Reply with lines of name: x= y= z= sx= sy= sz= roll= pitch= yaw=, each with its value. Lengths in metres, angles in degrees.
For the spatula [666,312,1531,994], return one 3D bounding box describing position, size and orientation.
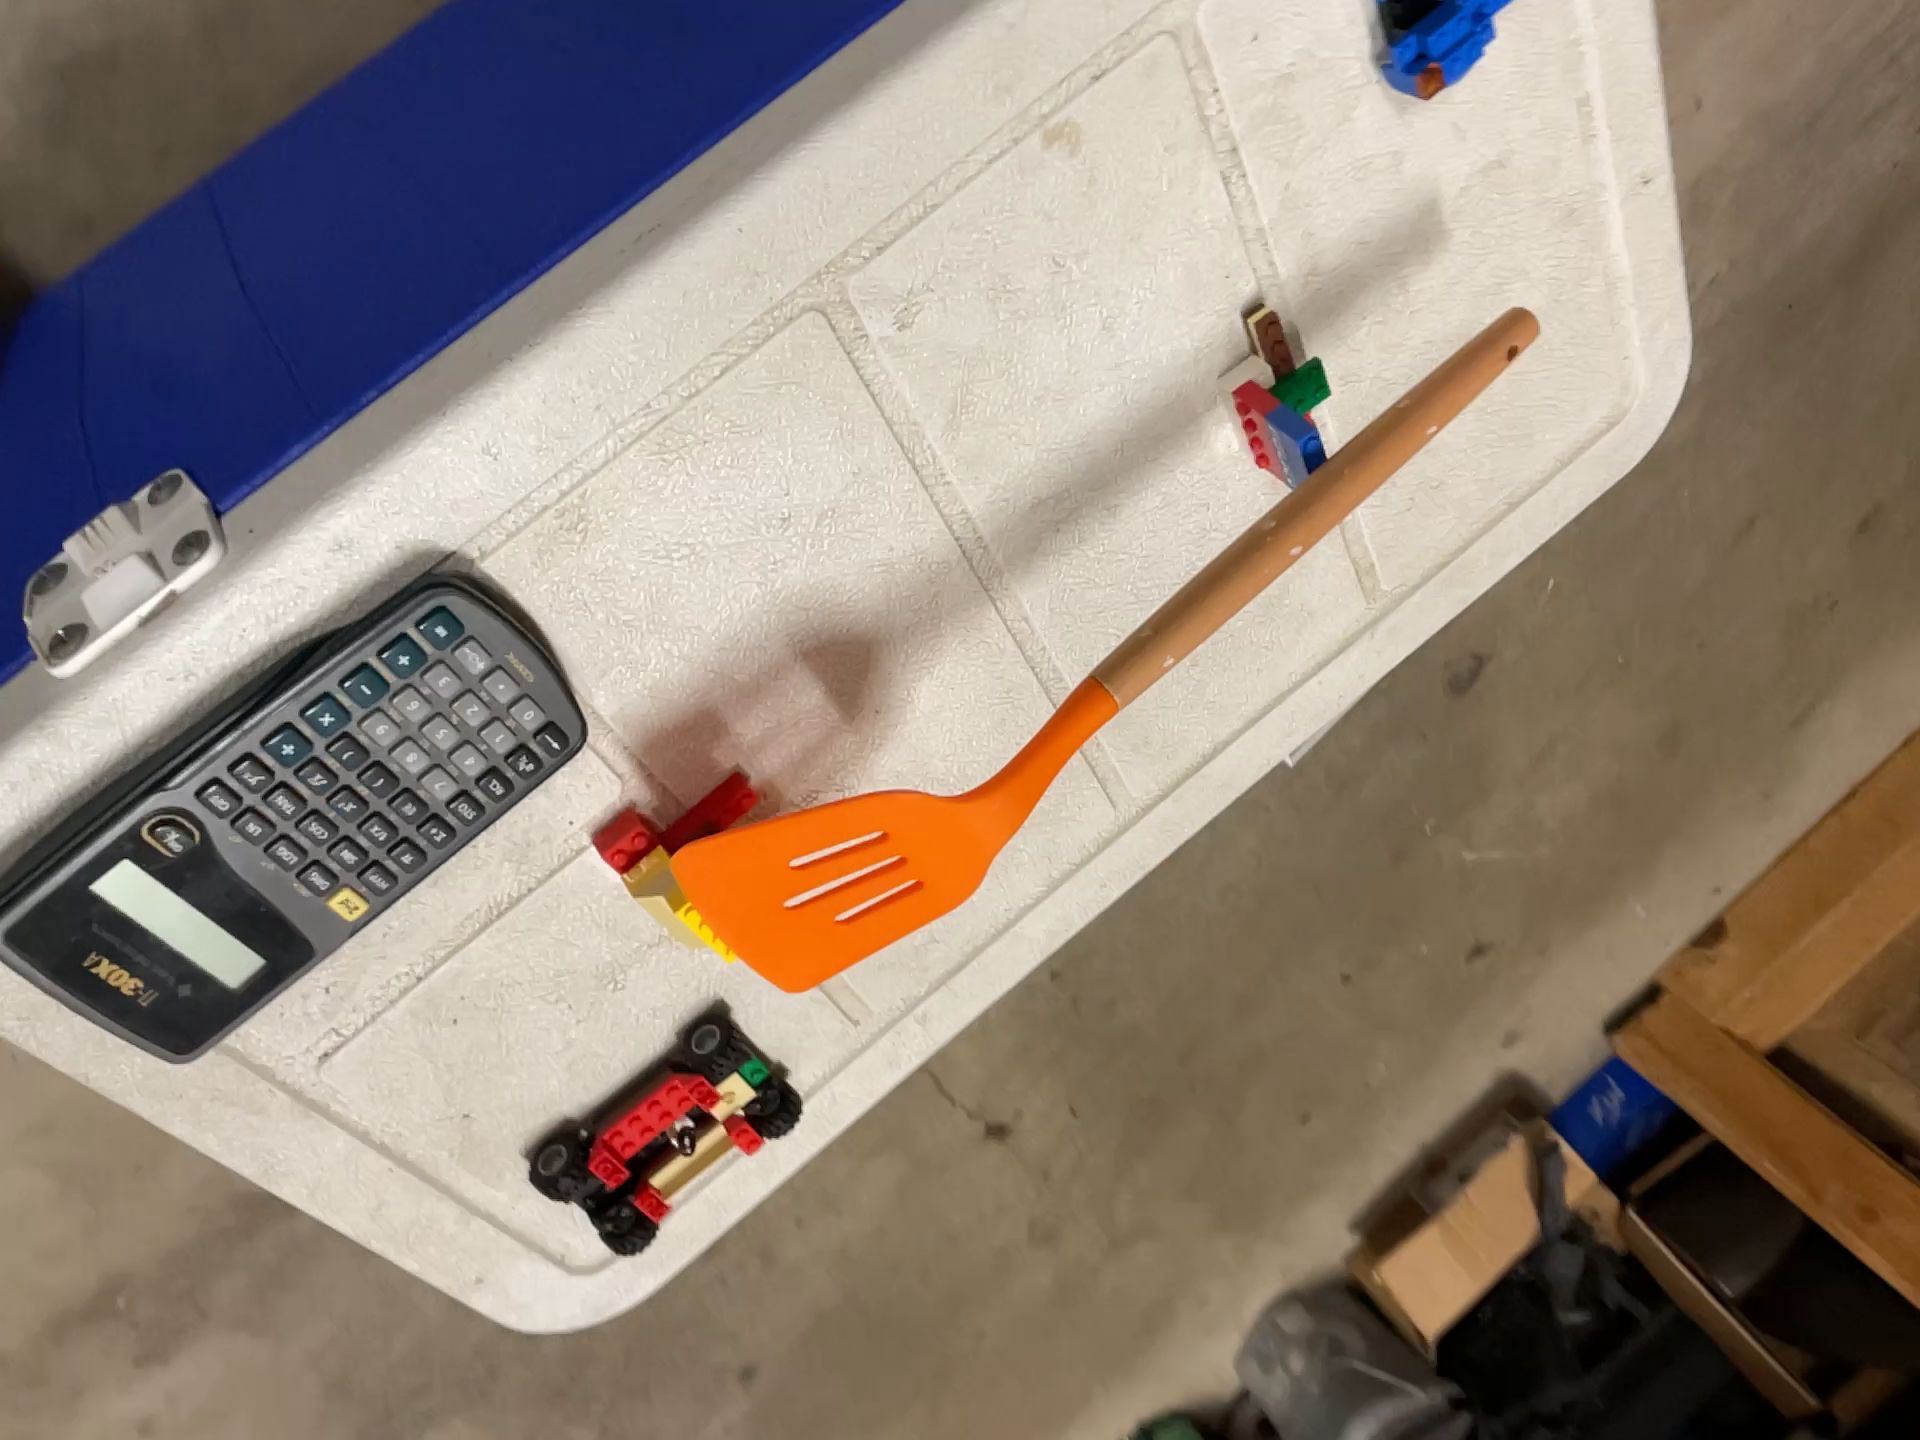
spatula: x=0.056 y=-0.028 z=0.500 sx=0.322 sy=0.041 sz=0.081 roll=-41 pitch=134 yaw=-9
